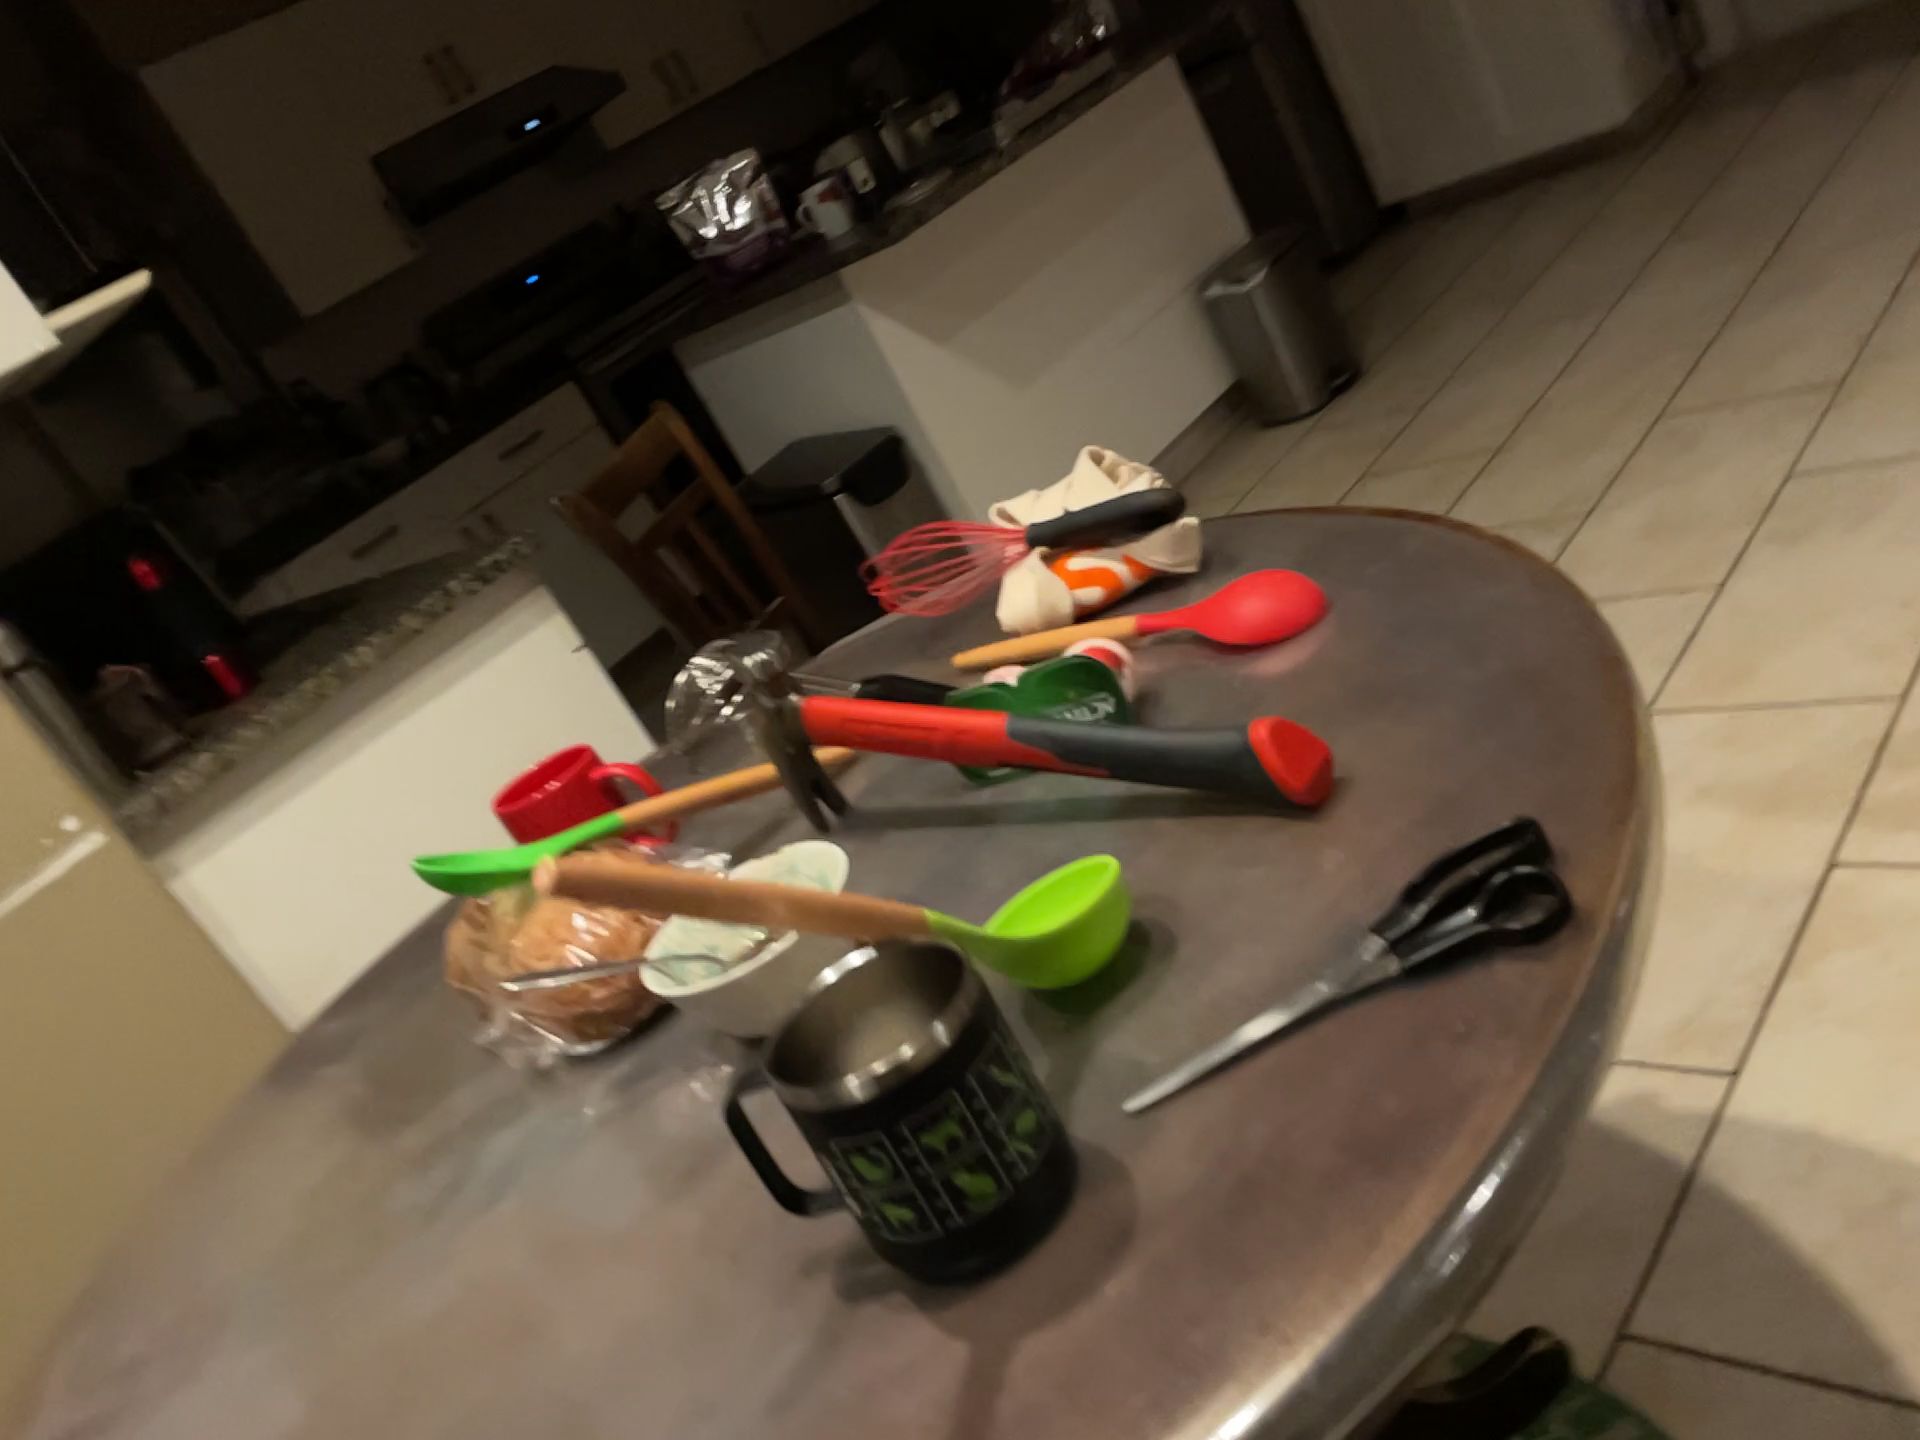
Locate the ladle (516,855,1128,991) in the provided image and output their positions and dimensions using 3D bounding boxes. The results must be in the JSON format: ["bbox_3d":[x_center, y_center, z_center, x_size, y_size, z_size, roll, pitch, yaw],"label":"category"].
[{"bbox_3d":[-0.039,0.069,0.636,0.078,0.319,0.062,-30,61,33],"label":"ladle"}]

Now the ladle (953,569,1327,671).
[{"bbox_3d":[0.103,-0.059,1.053,0.316,0.031,0.069,-10,28,47],"label":"ladle"}]

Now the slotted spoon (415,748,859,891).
[{"bbox_3d":[-0.197,0.059,1.032,0.313,0.031,0.070,-17,15,-35],"label":"slotted spoon"}]

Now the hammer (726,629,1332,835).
[{"bbox_3d":[0.030,0.025,0.890,0.387,0.143,0.038,6,41,40],"label":"hammer"}]

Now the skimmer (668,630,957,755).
[{"bbox_3d":[-0.099,-0.007,1.197,0.364,0.090,0.127,10,51,45],"label":"skimmer"}]

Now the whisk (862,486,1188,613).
[{"bbox_3d":[0.041,-0.129,1.157,0.296,0.073,0.073,-10,27,41],"label":"whisk"}]
